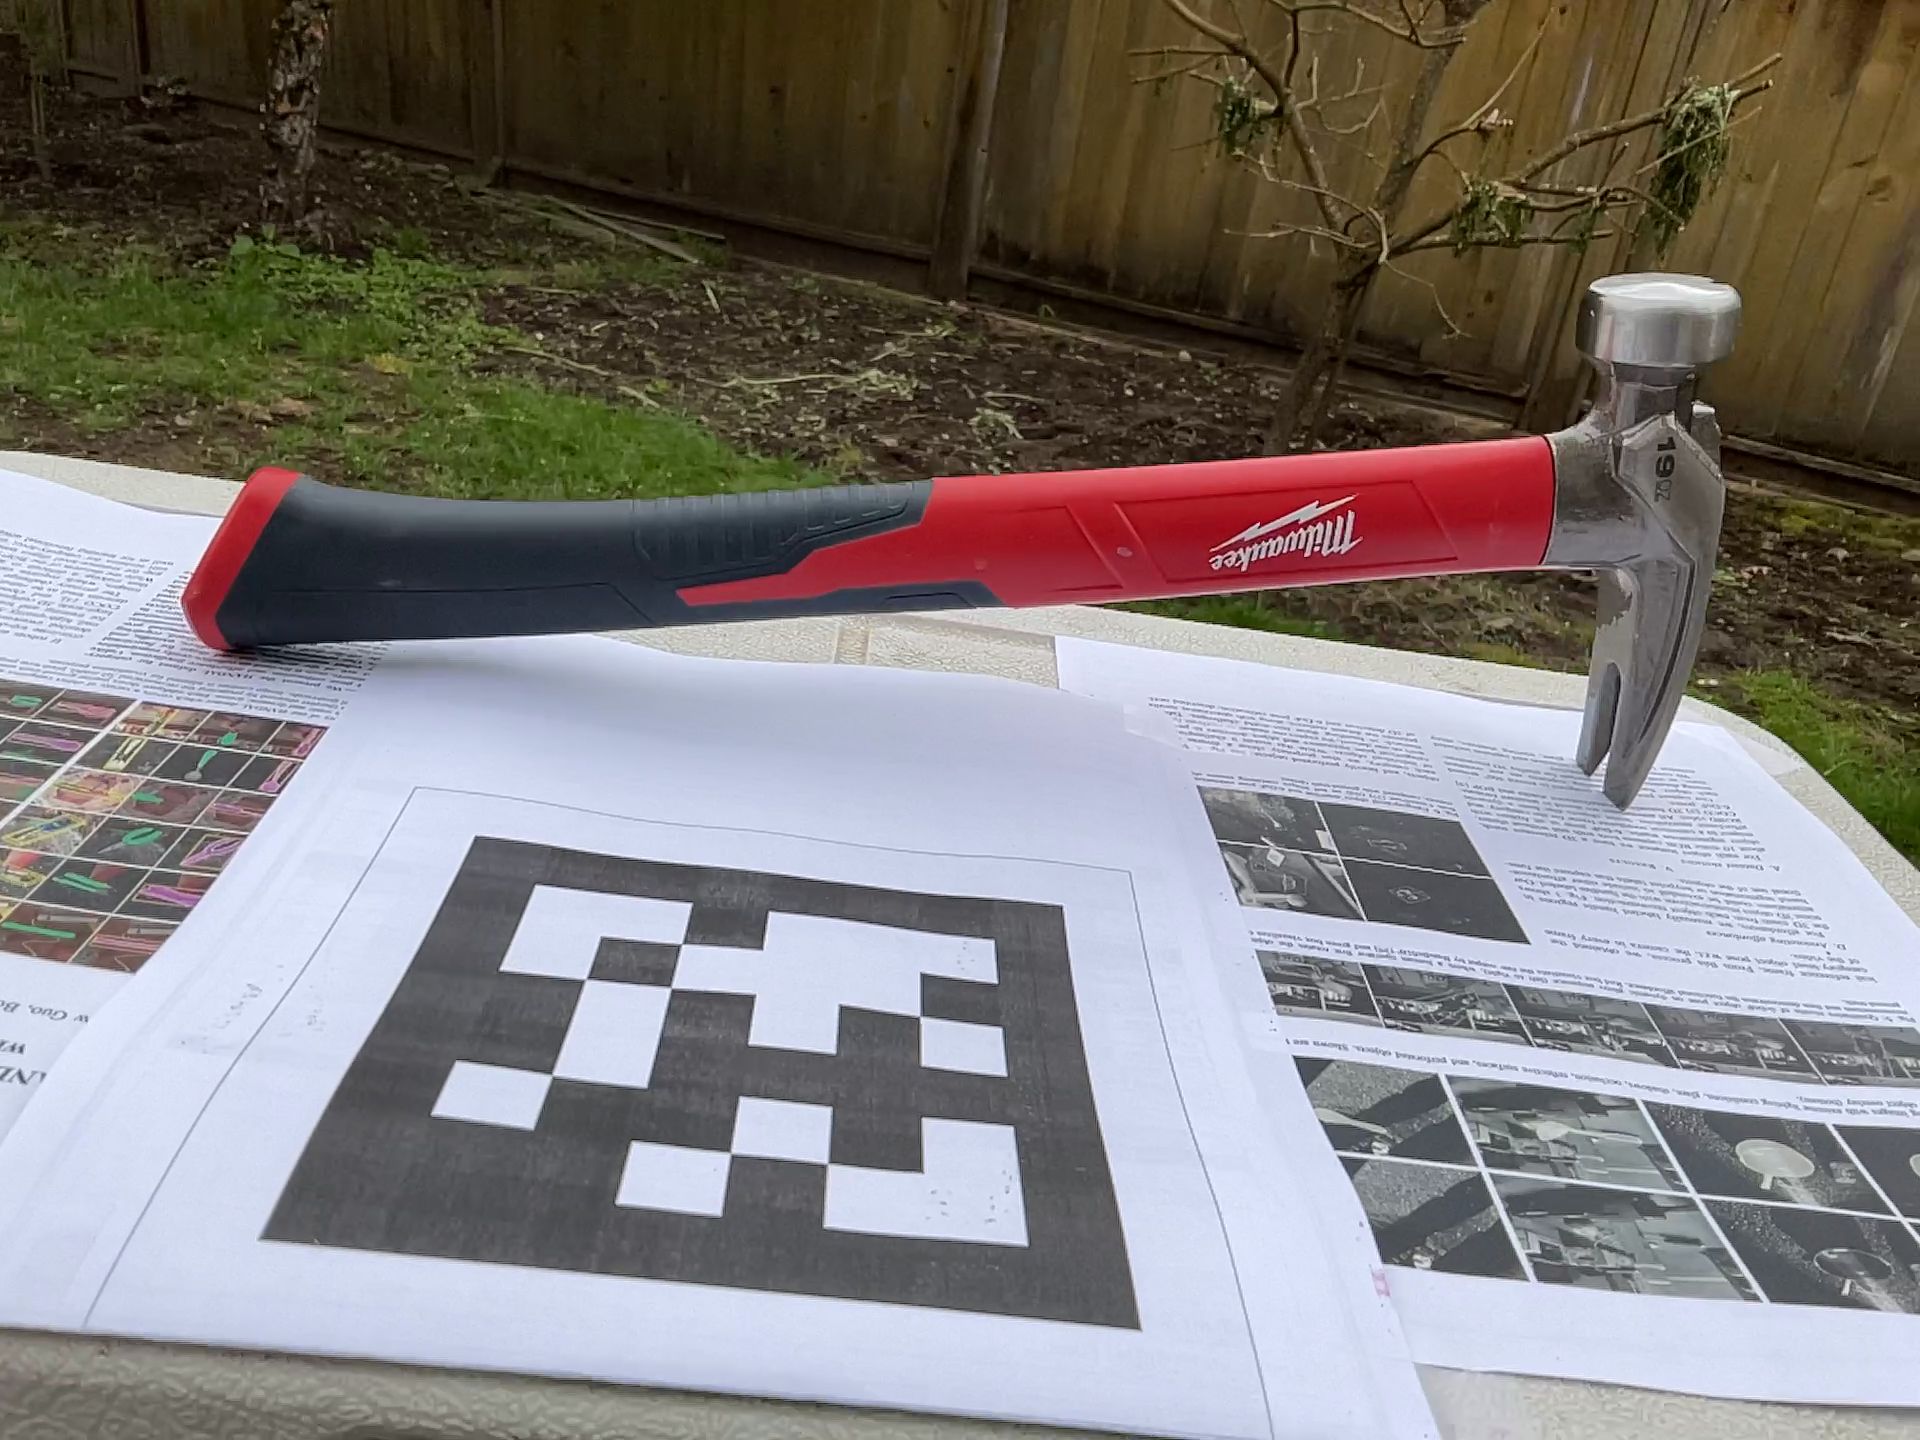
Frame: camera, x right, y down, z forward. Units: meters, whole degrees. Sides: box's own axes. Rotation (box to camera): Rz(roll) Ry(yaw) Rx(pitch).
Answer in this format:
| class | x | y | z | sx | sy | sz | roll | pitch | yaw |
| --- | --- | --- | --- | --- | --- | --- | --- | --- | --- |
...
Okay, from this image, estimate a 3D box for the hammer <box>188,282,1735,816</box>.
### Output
| class | x | y | z | sx | sy | sz | roll | pitch | yaw |
| --- | --- | --- | --- | --- | --- | --- | --- | --- | --- |
| hammer | 0.004 | -0.031 | 0.422 | 0.386 | 0.143 | 0.038 | -4 | 25 | -4 |
